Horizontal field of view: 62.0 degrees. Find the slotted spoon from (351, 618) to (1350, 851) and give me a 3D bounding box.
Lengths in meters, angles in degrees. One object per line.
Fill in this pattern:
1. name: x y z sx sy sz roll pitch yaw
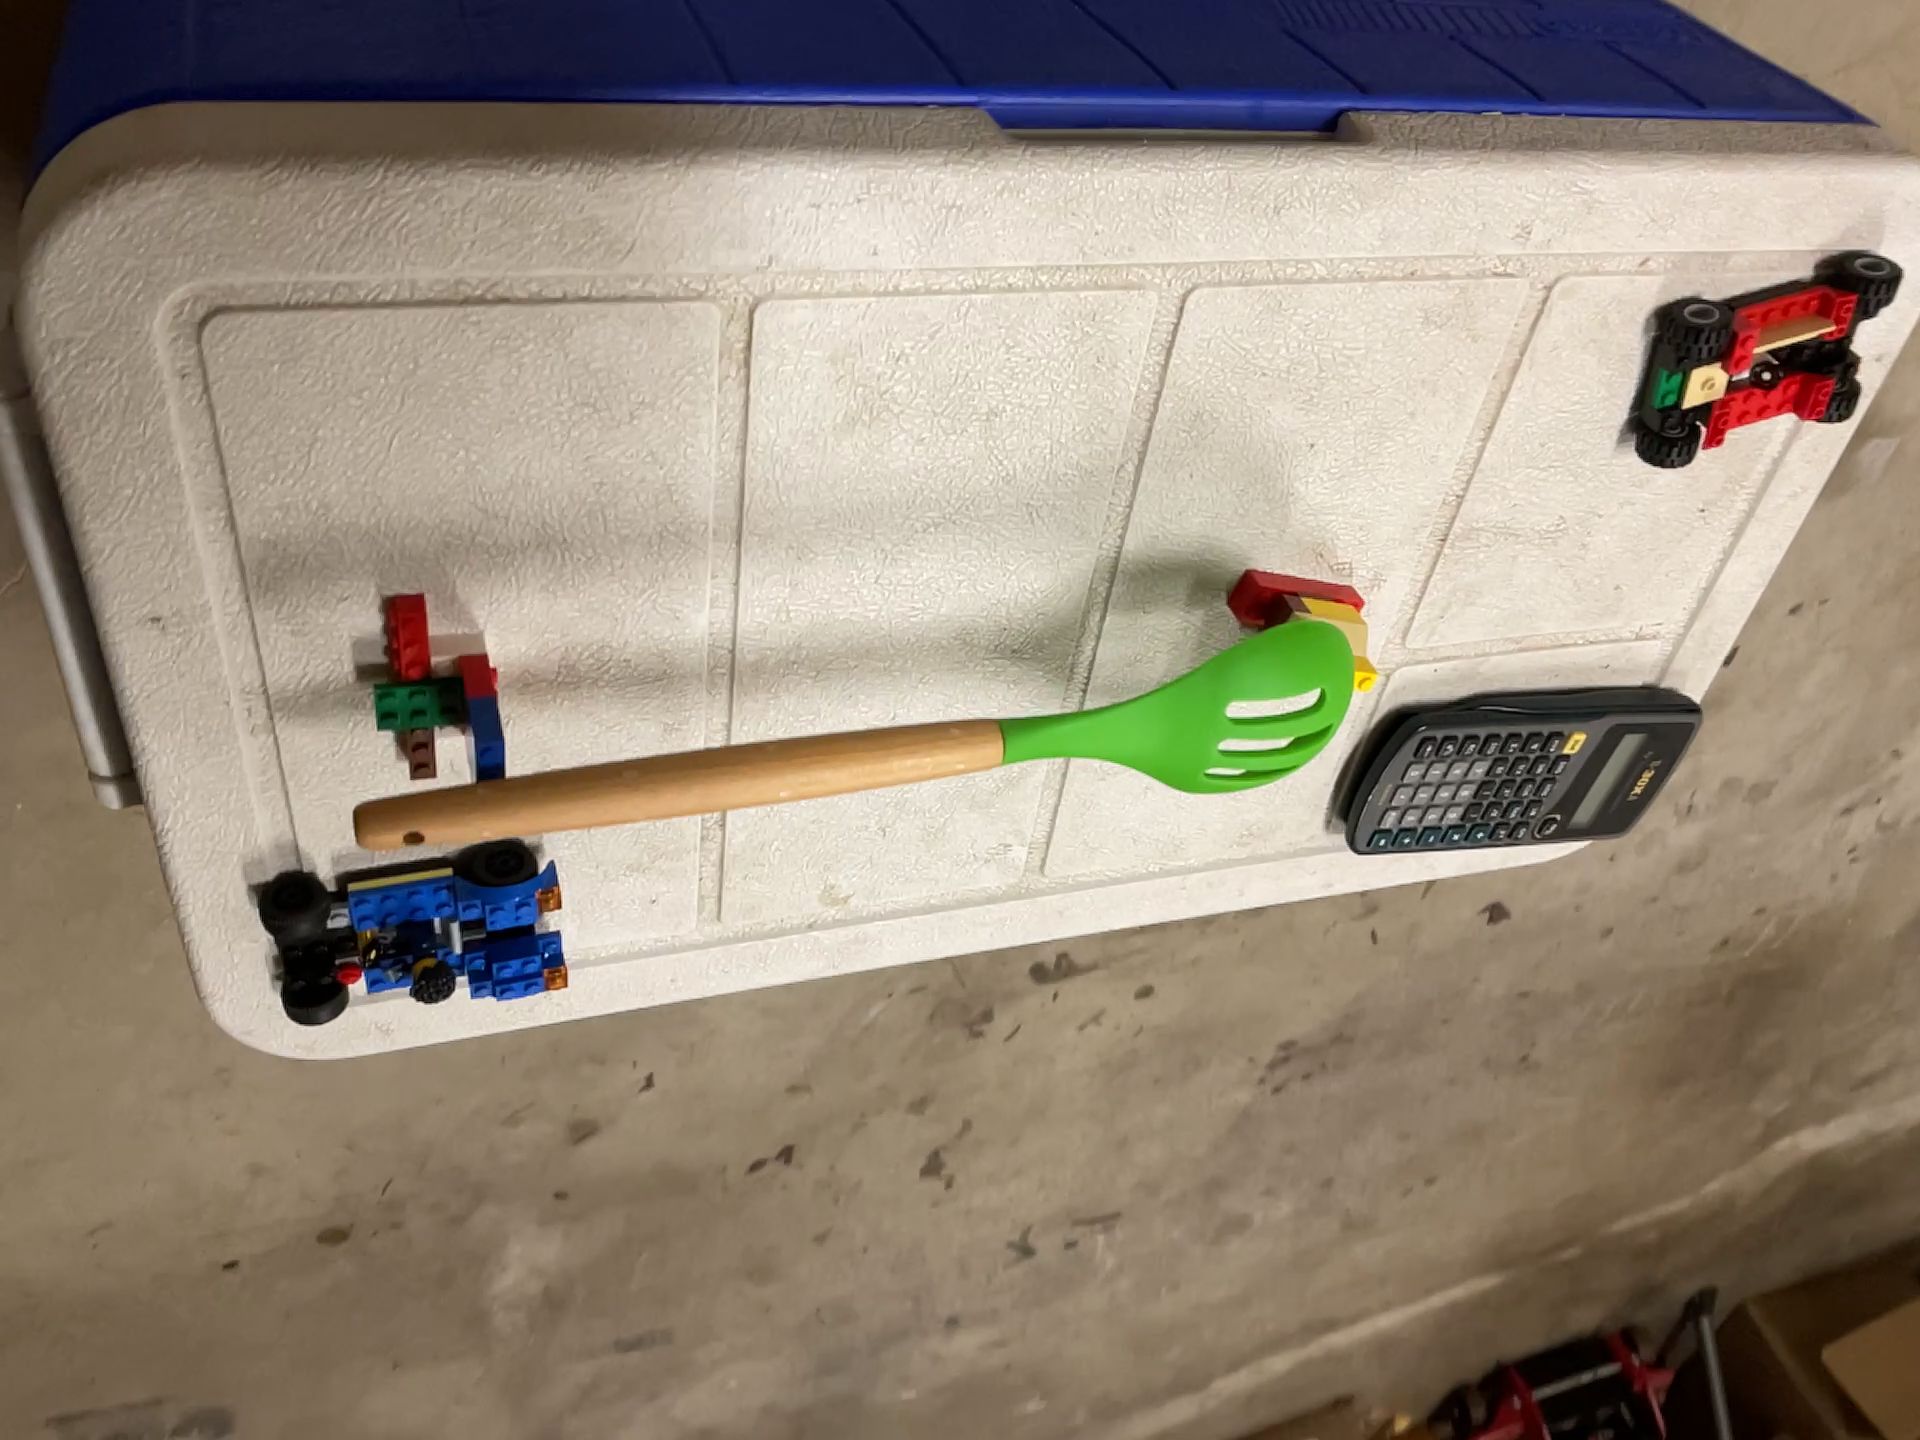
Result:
1. slotted spoon: -0.015 0.011 0.477 0.313 0.031 0.070 -7 135 -19
